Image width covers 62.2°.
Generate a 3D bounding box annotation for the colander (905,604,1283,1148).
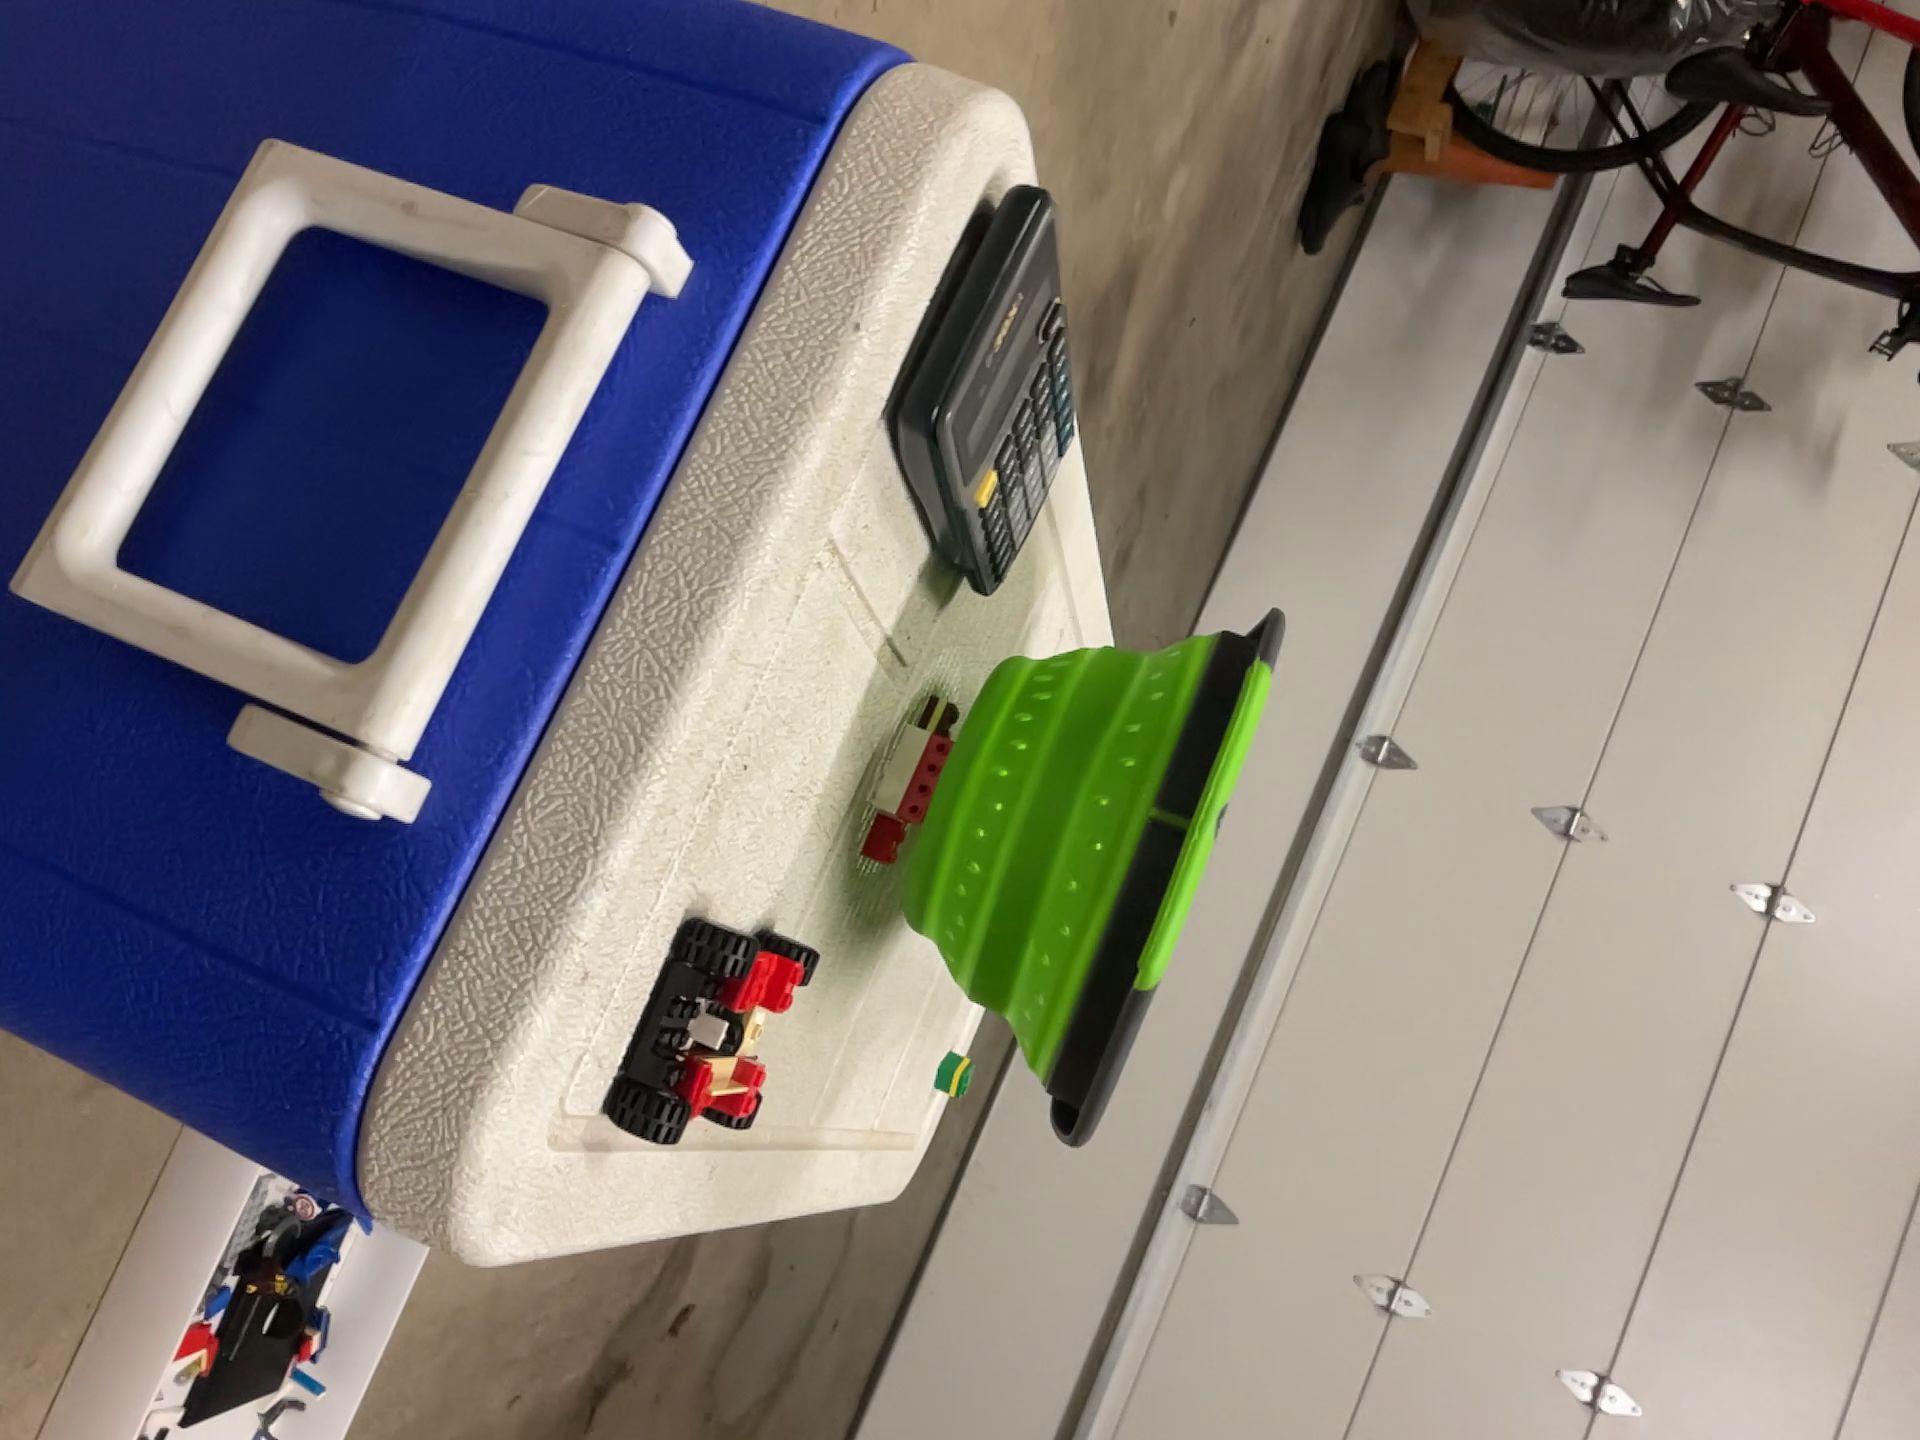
[{"bbox_3d":[0.044,0.062,0.660,0.396,0.094,0.204,79,32,-75],"label":"colander"}]
